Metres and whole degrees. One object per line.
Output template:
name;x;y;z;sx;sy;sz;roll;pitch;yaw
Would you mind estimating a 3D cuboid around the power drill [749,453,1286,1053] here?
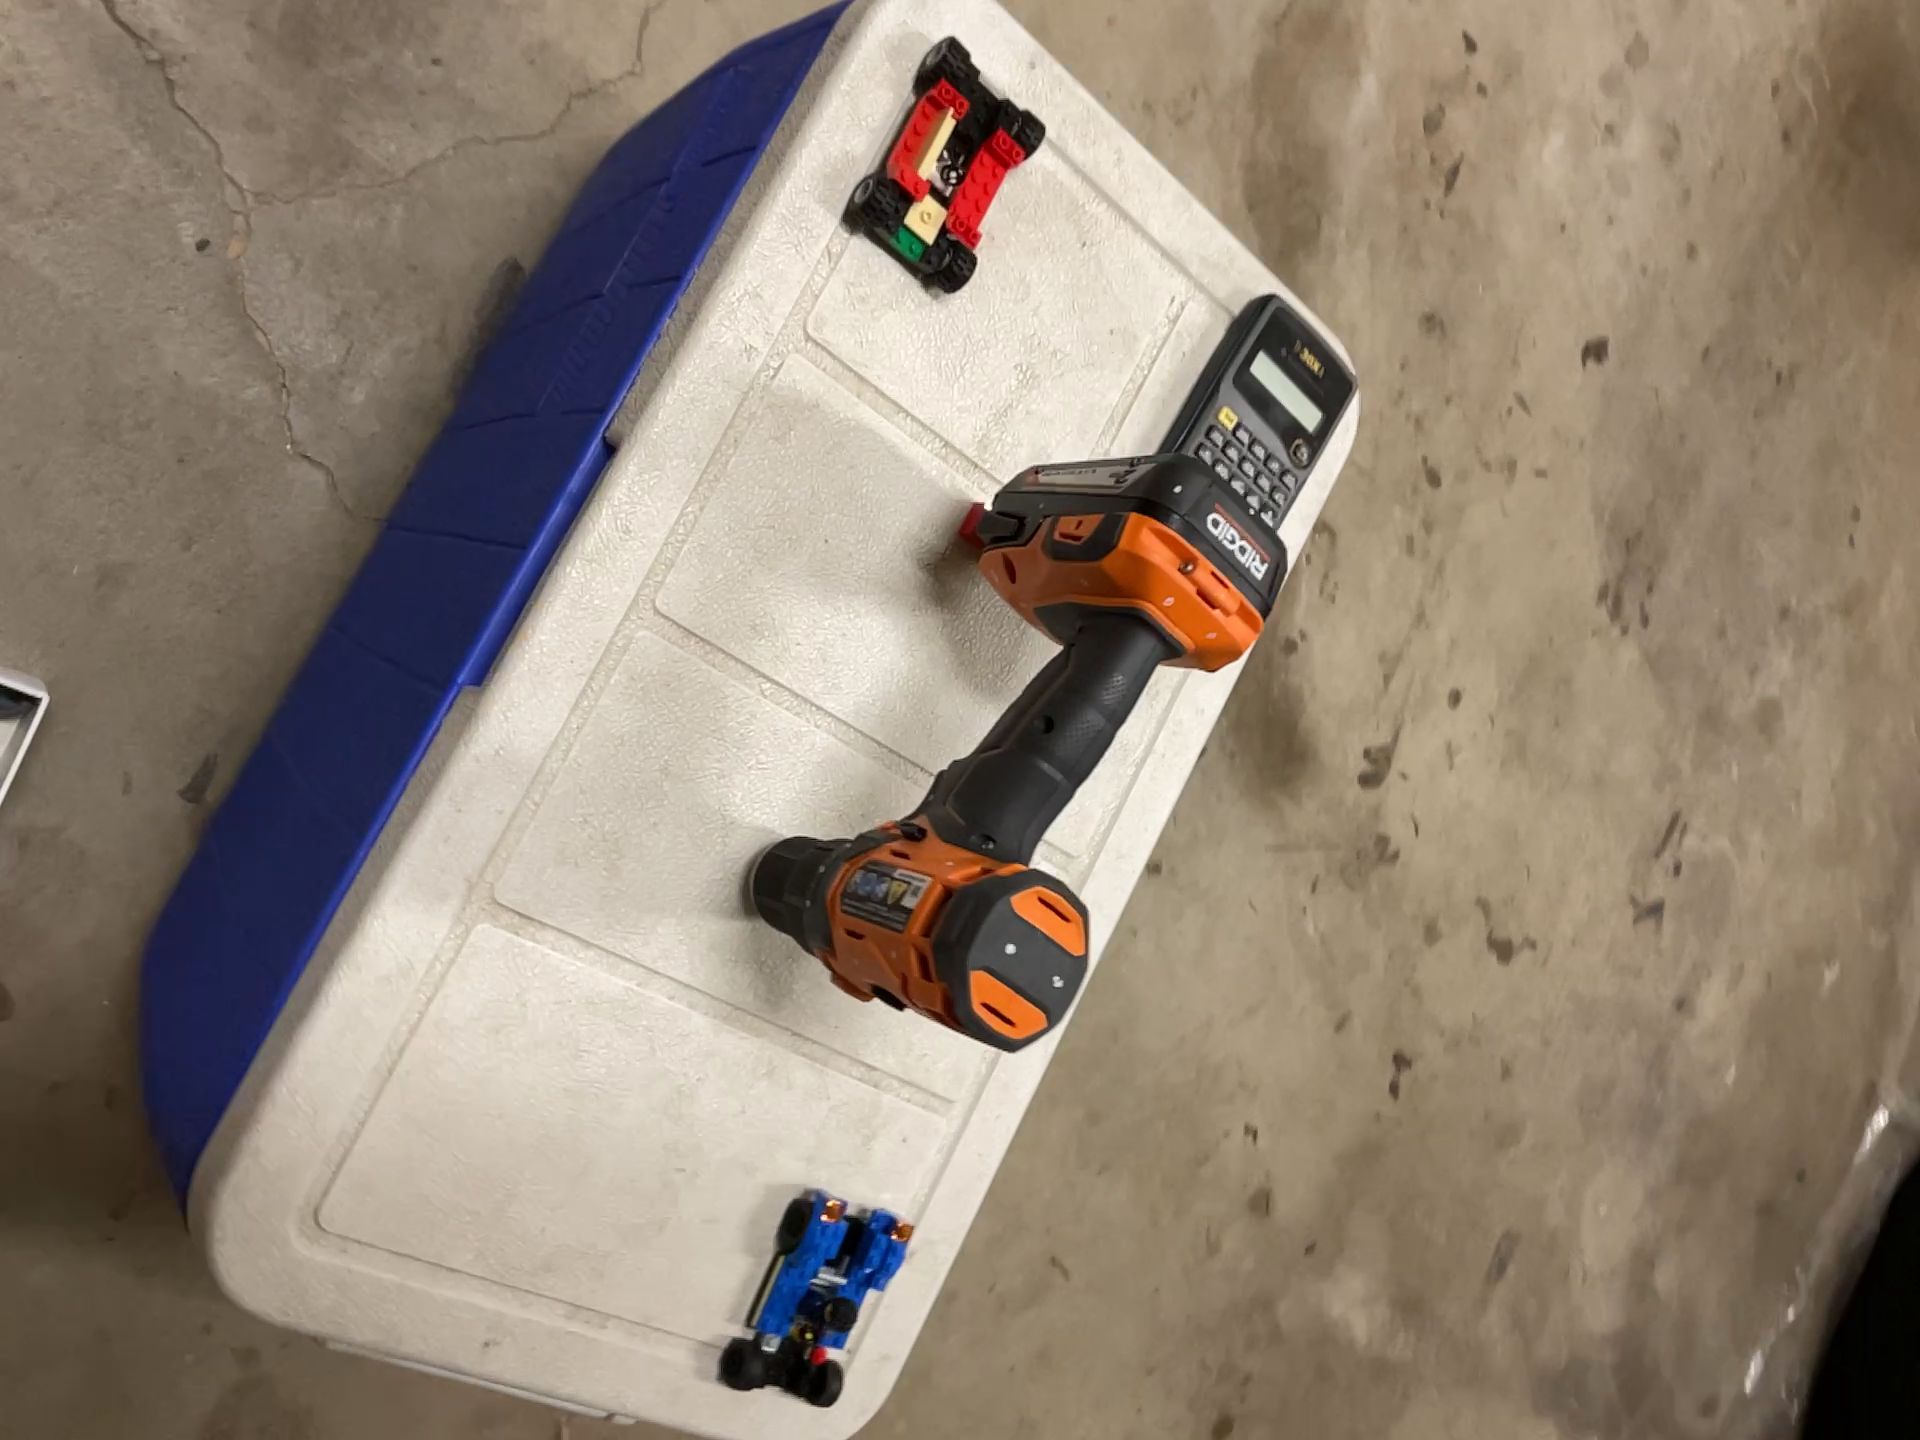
power drill;0.011;0.009;0.634;0.084;0.185;0.226;38;73;-30
